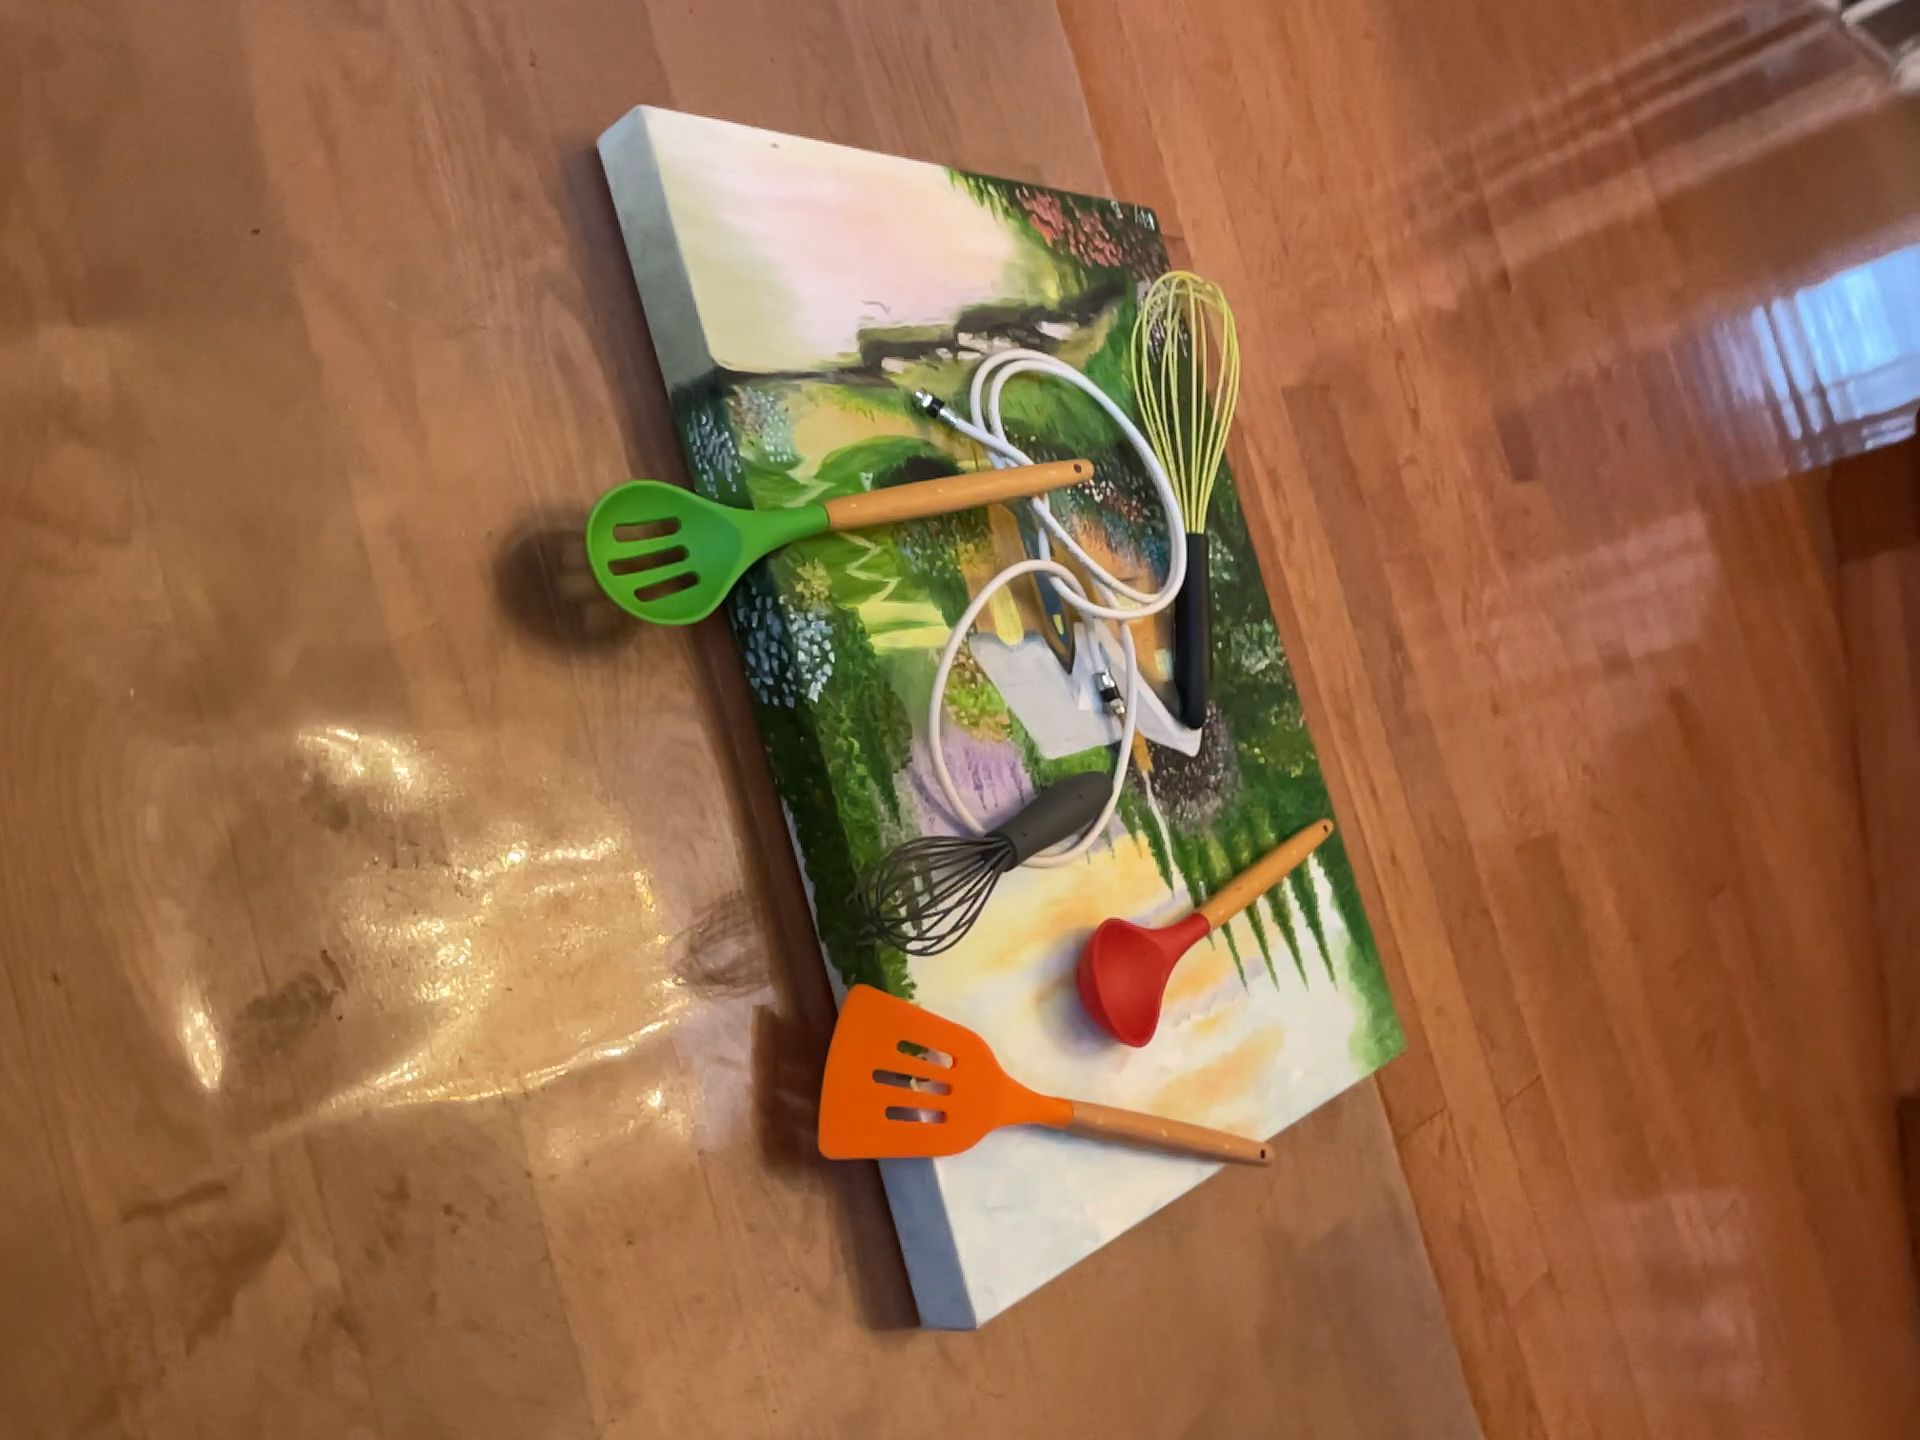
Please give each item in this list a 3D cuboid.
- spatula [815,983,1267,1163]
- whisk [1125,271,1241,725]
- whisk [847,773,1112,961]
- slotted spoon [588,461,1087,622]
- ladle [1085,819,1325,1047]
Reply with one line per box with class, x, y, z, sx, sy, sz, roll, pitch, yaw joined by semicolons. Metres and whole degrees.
spatula;0.060;0.206;0.829;0.322;0.041;0.081;24;70;-42
whisk;0.146;-0.148;1.032;0.079;0.067;0.312;11;73;-39
whisk;0.021;0.065;0.813;0.239;0.055;0.055;-25;105;-55
slotted spoon;-0.050;-0.104;0.805;0.313;0.031;0.070;-17;87;-38
ladle;0.155;0.113;0.956;0.315;0.031;0.069;-25;95;-52
